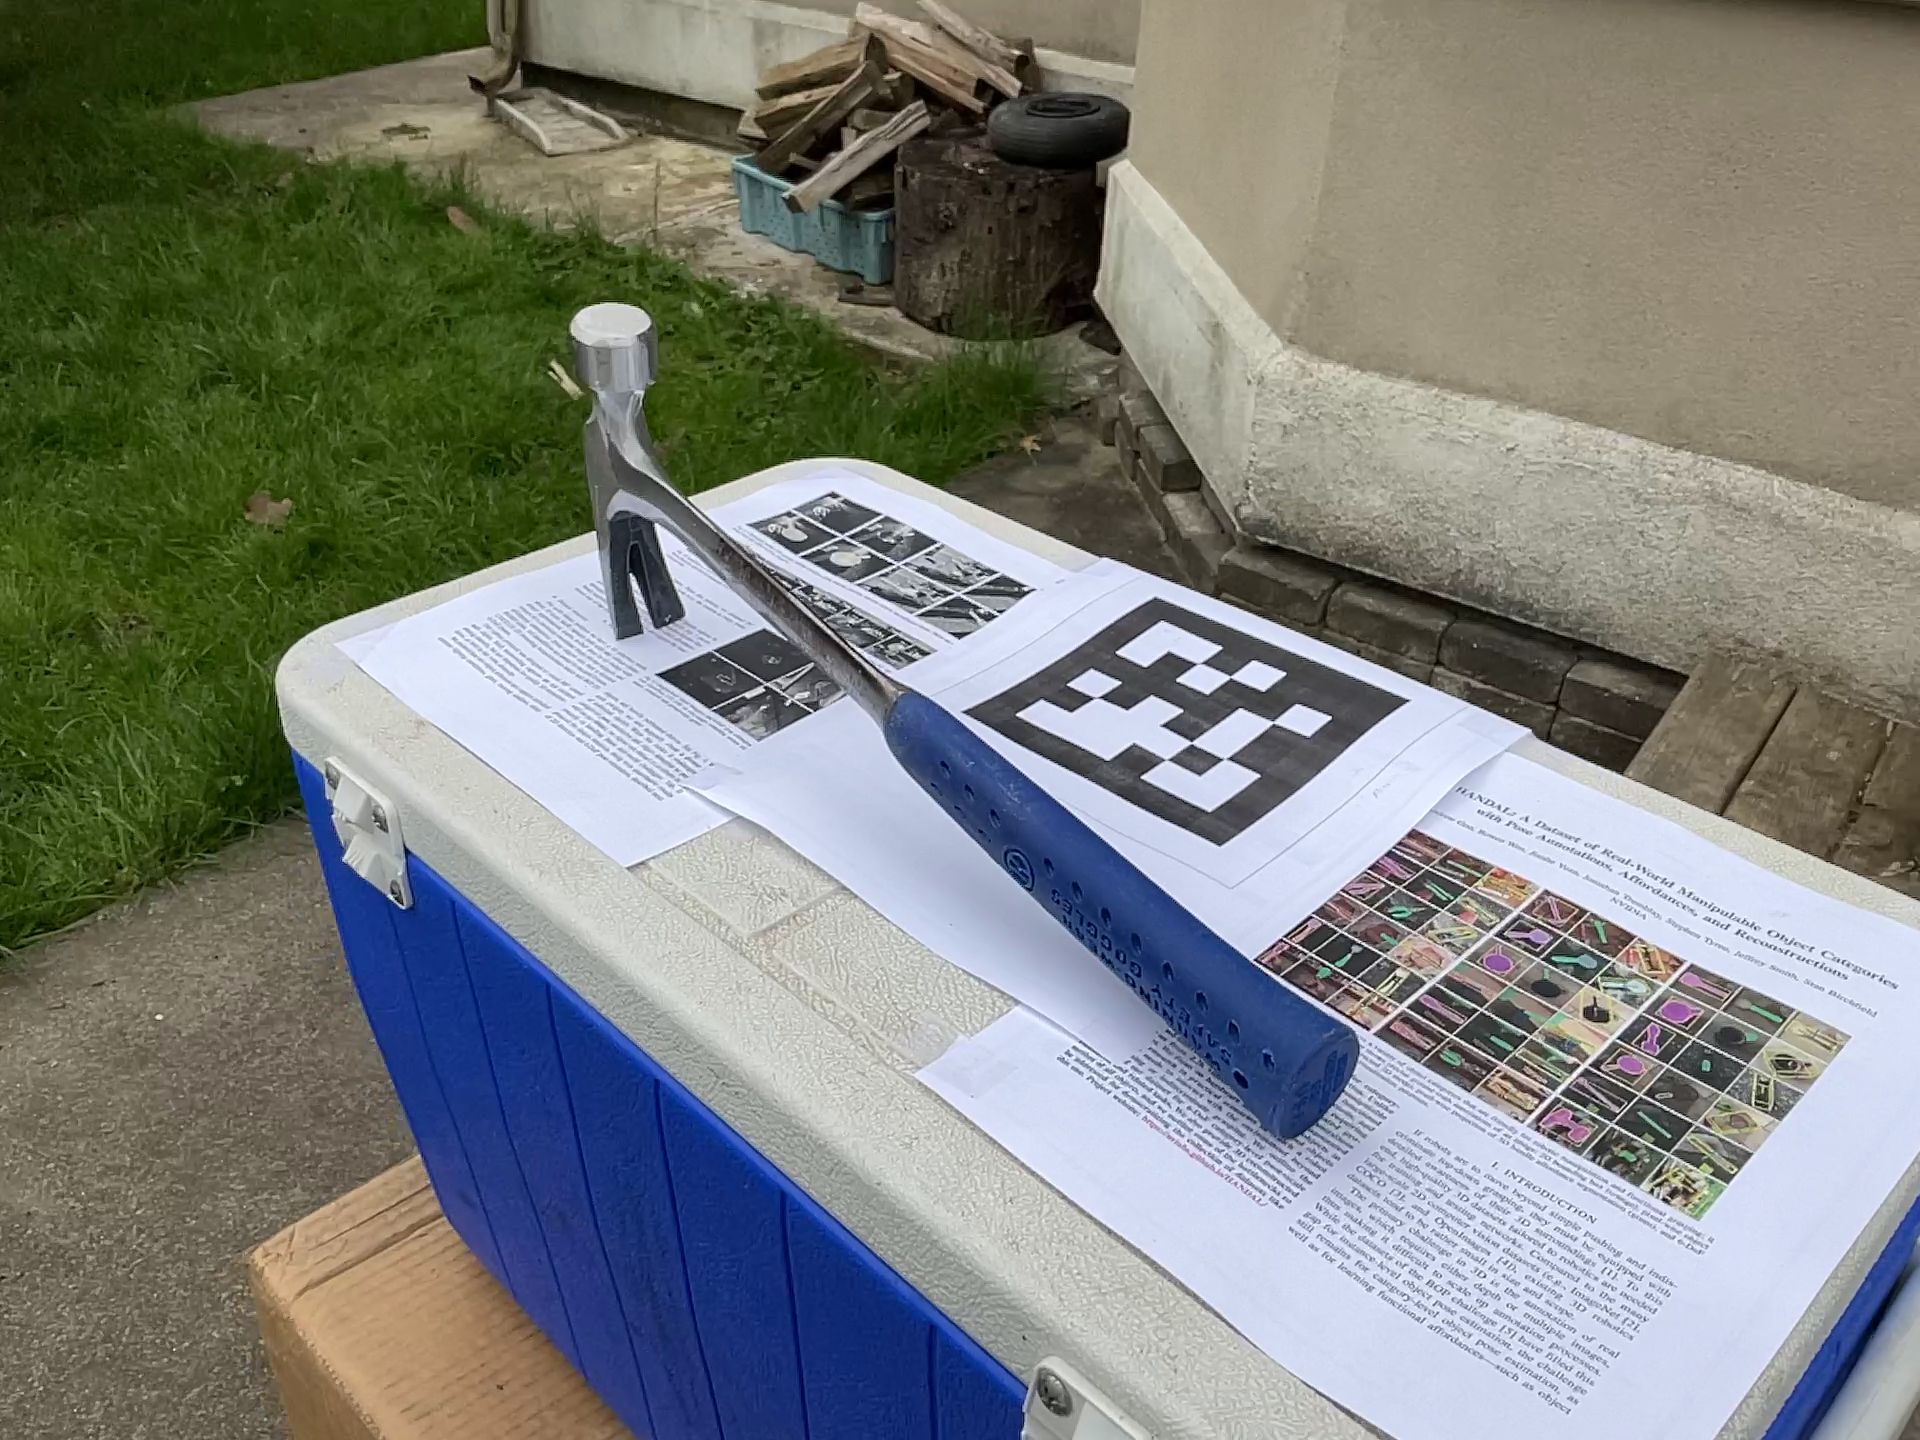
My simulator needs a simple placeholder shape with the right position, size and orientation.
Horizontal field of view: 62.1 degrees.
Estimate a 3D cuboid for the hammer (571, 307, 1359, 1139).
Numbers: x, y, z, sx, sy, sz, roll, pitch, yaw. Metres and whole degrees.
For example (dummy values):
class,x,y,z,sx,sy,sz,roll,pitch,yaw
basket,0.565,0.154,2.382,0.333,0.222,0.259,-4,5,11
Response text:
class,x,y,z,sx,sy,sz,roll,pitch,yaw
hammer,-0.026,-0.001,0.566,0.035,0.144,0.406,-24,48,-31
